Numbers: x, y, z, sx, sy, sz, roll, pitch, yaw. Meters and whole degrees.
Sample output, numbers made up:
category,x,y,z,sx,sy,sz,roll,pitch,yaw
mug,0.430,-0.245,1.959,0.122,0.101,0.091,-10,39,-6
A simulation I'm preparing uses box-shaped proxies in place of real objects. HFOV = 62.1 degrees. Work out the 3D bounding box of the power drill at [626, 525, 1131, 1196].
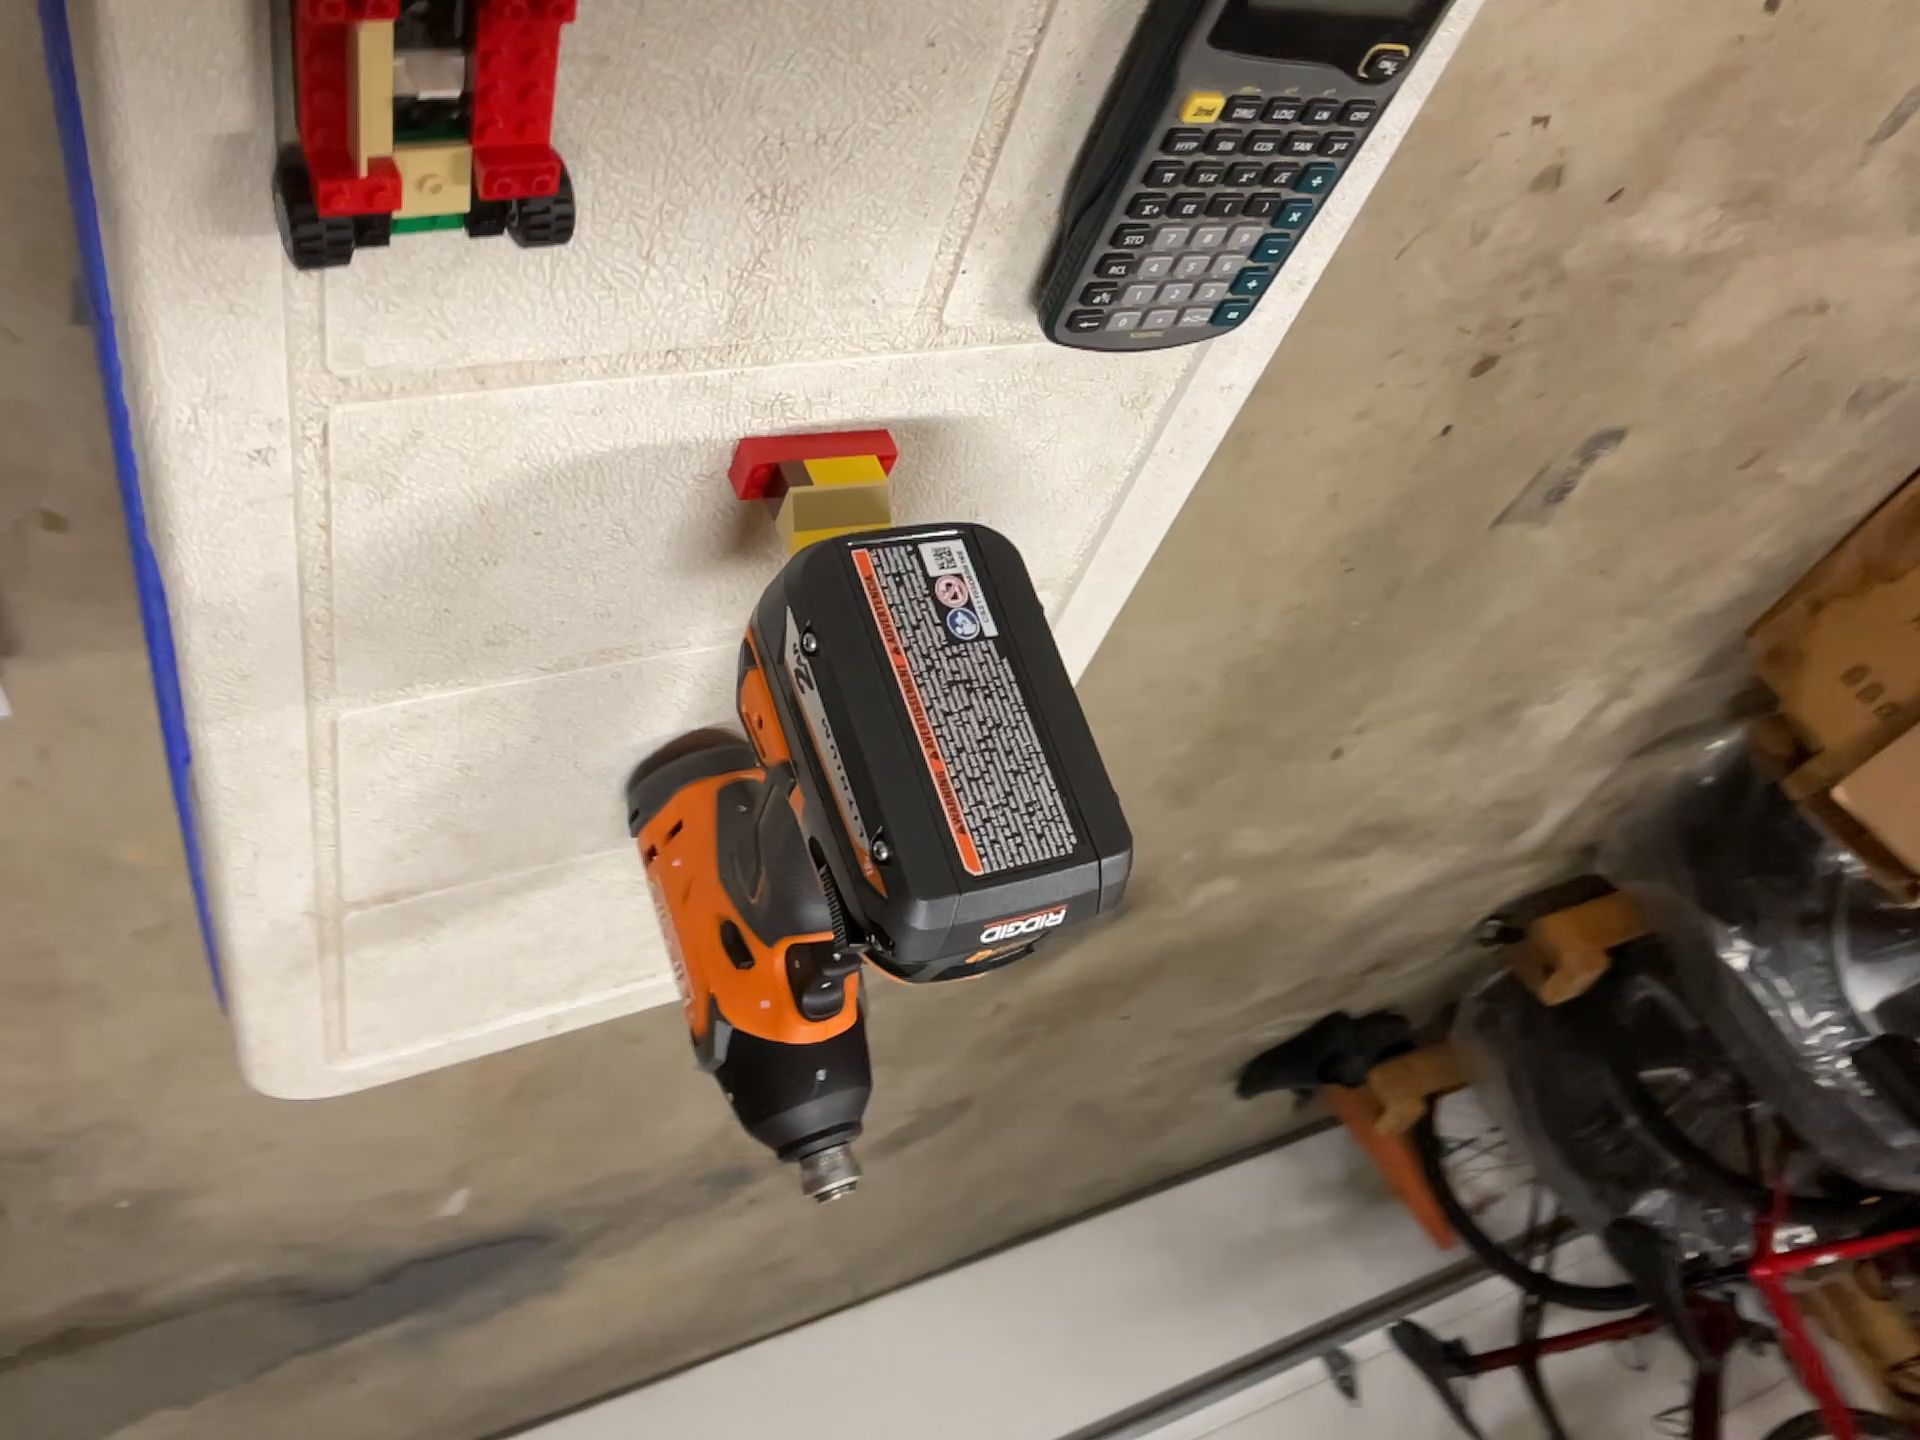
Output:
category,x,y,z,sx,sy,sz,roll,pitch,yaw
power drill,-0.038,0.056,0.511,0.084,0.164,0.226,-11,161,-30
